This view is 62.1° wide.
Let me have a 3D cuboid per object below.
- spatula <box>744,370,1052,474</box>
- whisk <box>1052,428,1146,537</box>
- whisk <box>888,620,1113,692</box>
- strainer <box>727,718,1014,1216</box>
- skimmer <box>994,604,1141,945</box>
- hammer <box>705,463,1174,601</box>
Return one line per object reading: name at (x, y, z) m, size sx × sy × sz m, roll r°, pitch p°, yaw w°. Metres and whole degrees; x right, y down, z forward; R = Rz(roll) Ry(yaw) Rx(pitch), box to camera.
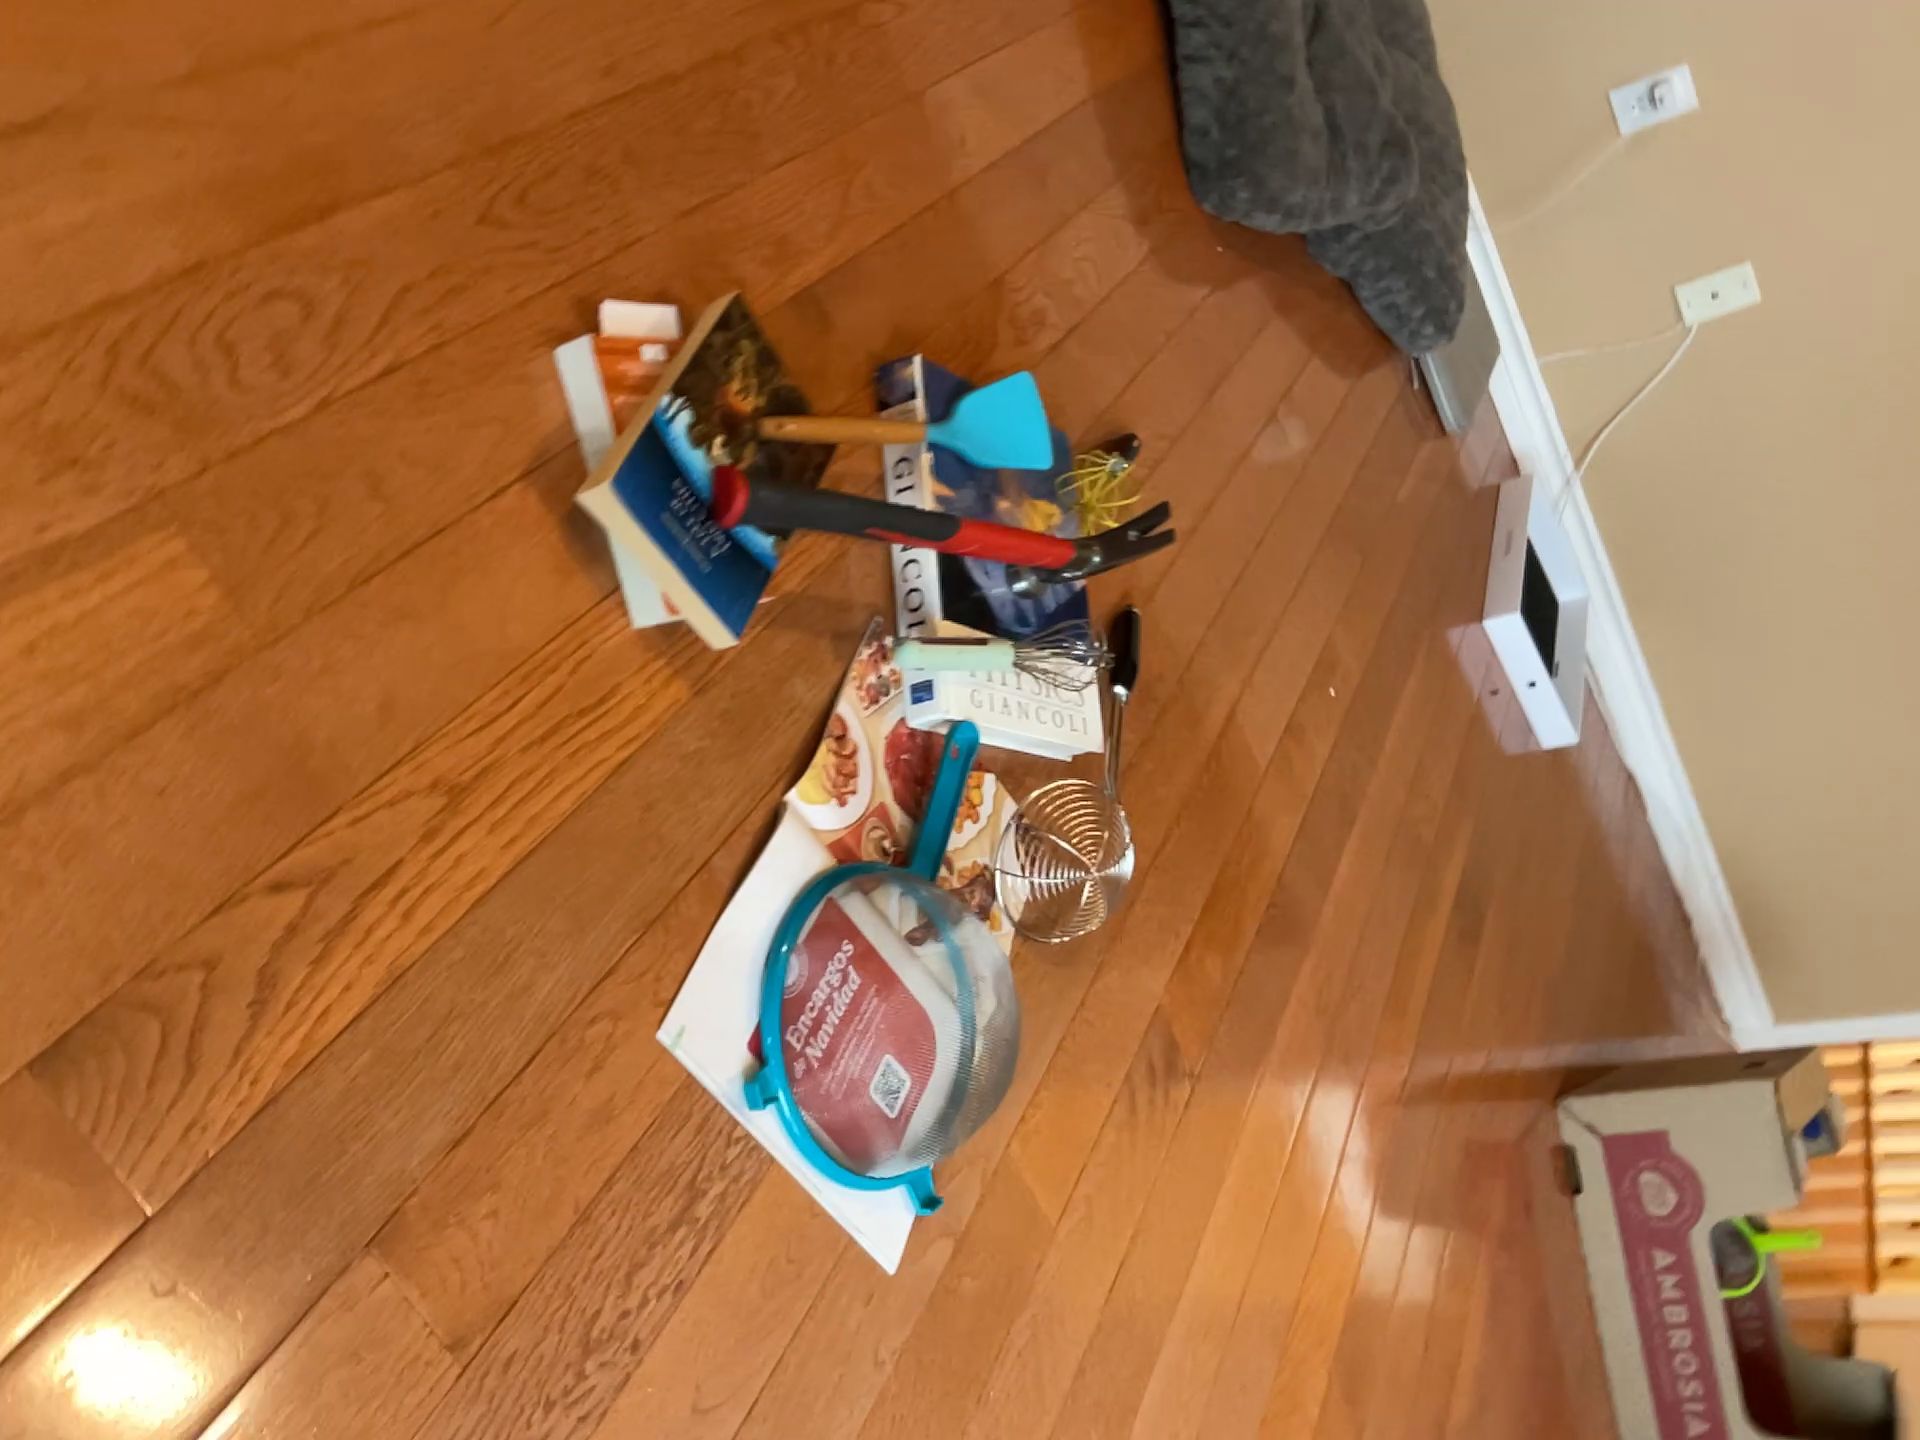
spatula at (-0.038, -0.207, 1.121) m, size 0.318 × 0.044 × 0.082 m, roll -15°, pitch 92°, yaw -56°
whisk at (0.134, -0.218, 1.397) m, size 0.080 × 0.067 × 0.312 m, roll 51°, pitch 24°, yaw -9°
whisk at (0.034, -0.049, 1.174) m, size 0.246 × 0.058 × 0.059 m, roll -2°, pitch 111°, yaw -51°
strainer at (-0.011, 0.138, 1.041) m, size 0.211 × 0.095 × 0.341 m, roll 44°, pitch 52°, yaw -37°
skimmer at (0.101, 0.026, 1.317) m, size 0.127 × 0.090 × 0.364 m, roll 52°, pitch 30°, yaw -28°
hammer at (-0.010, -0.132, 1.064) m, size 0.386 × 0.143 × 0.038 m, roll 2°, pitch 73°, yaw -52°
